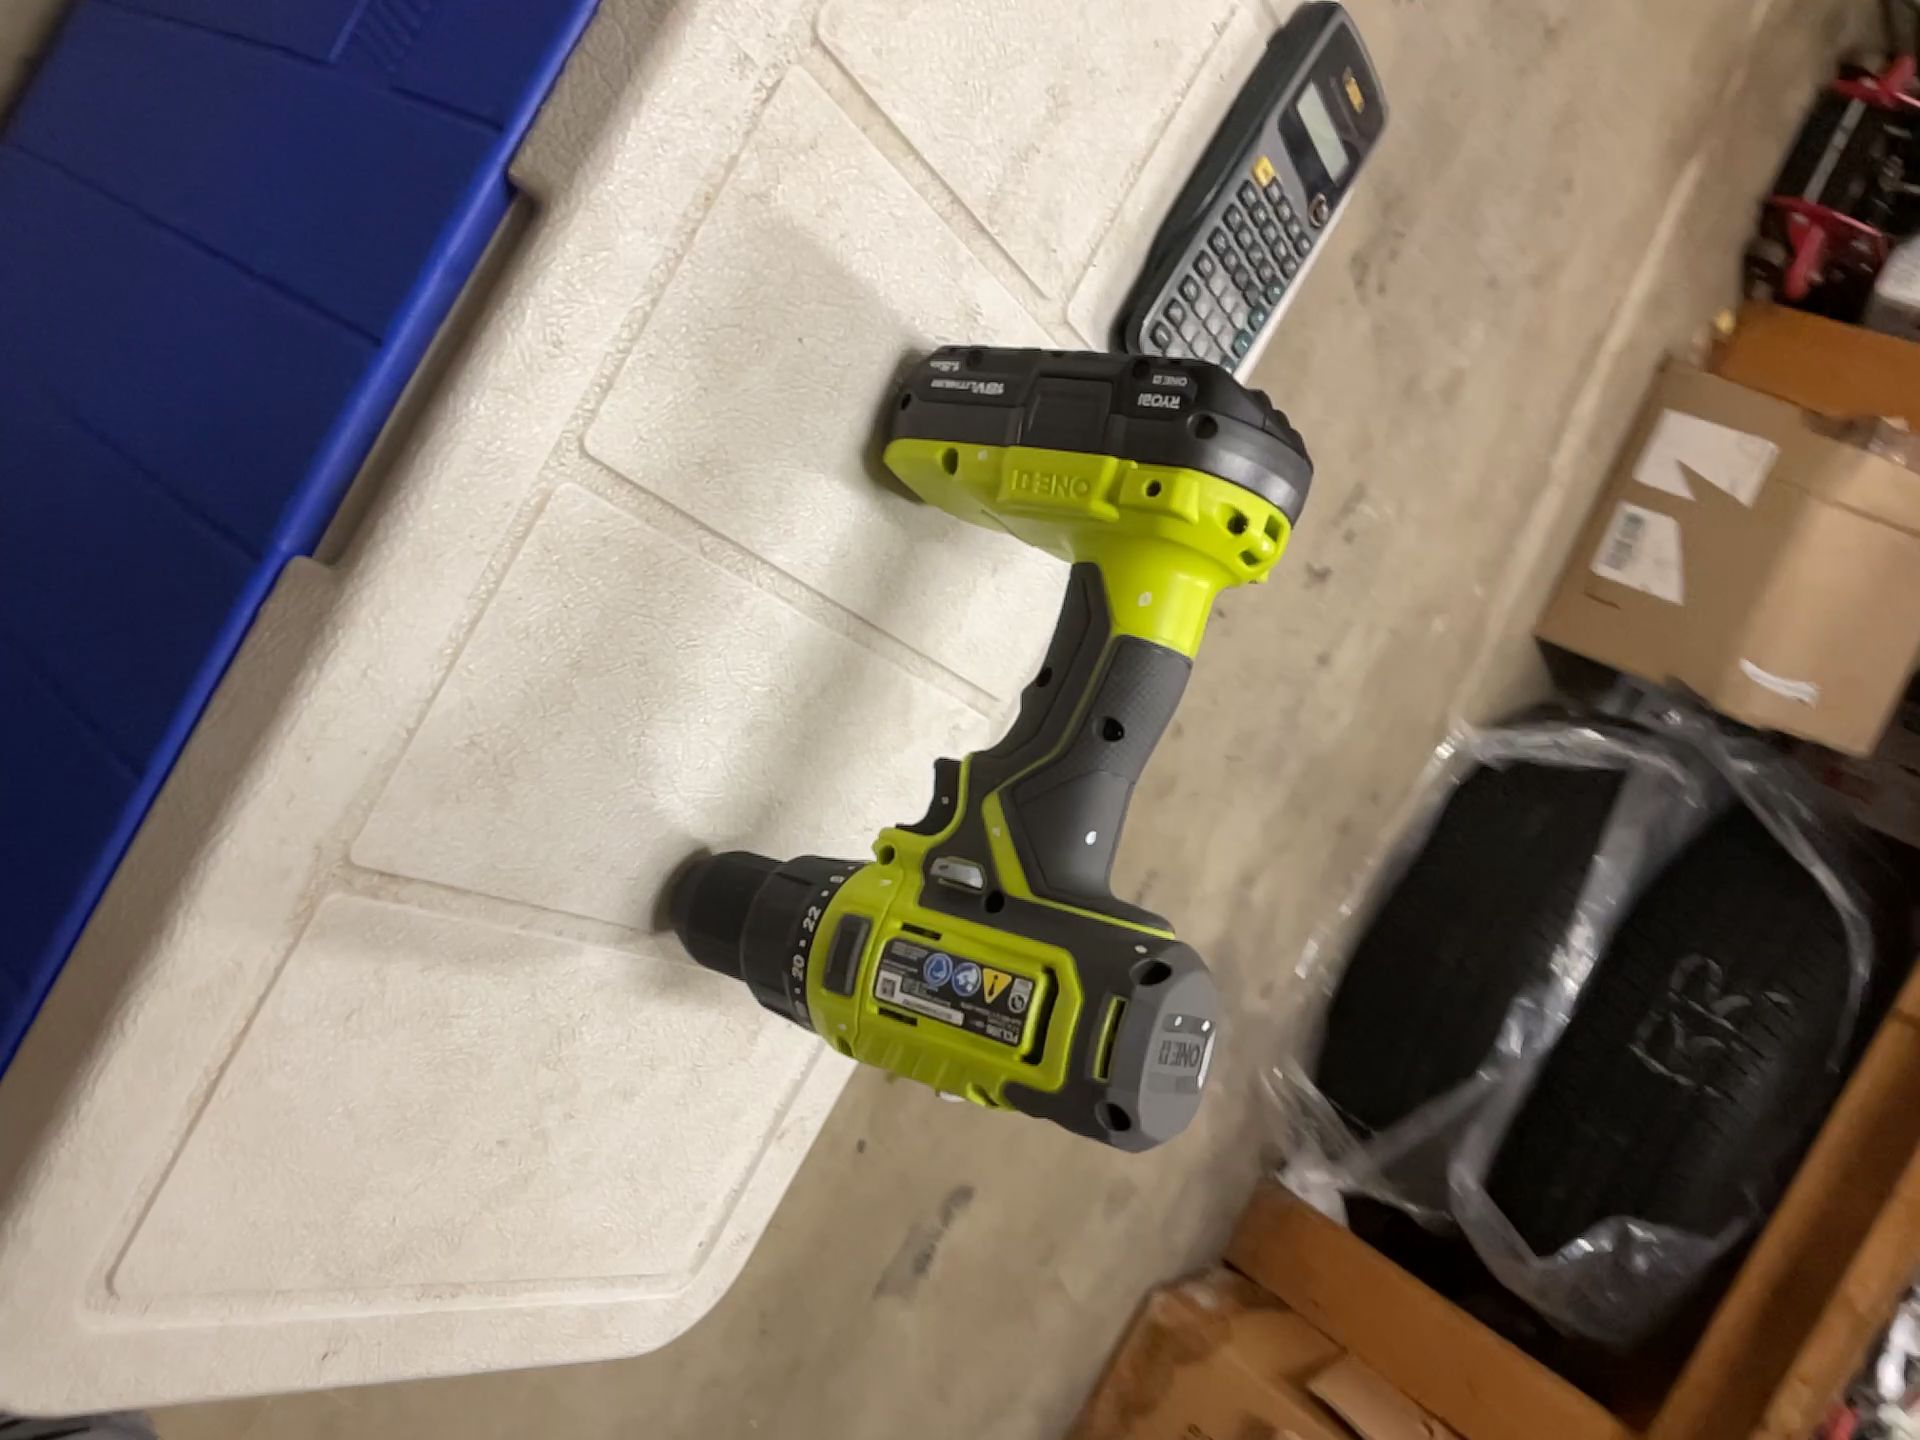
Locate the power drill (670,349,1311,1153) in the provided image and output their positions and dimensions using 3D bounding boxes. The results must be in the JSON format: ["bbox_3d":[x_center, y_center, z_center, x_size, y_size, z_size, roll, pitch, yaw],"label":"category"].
[{"bbox_3d":[0.007,0.003,0.515,0.080,0.190,0.228,25,80,-57],"label":"power drill"}]
